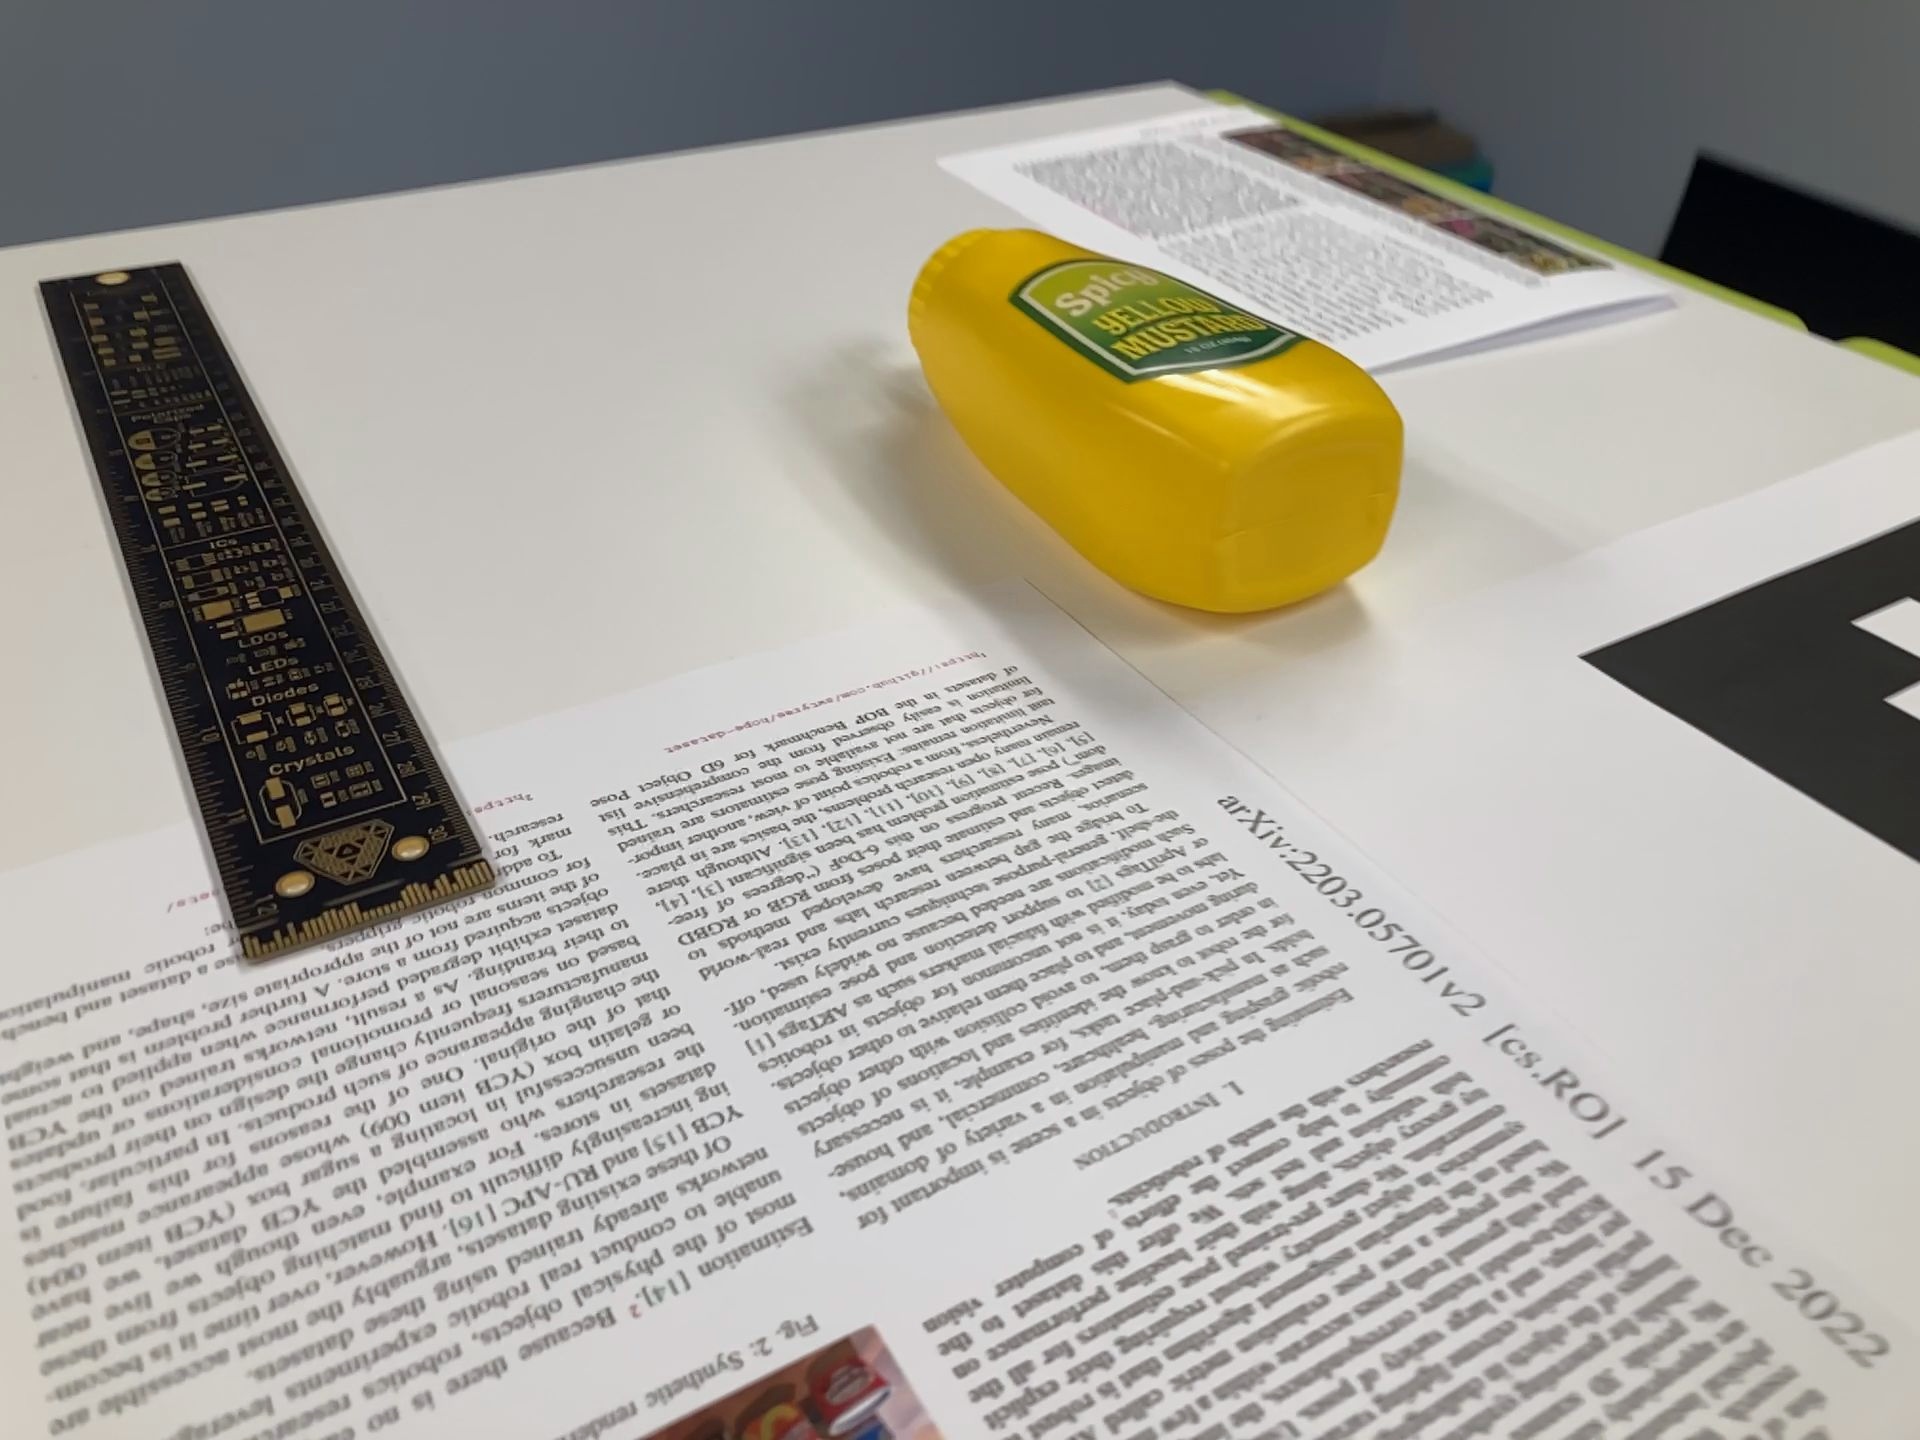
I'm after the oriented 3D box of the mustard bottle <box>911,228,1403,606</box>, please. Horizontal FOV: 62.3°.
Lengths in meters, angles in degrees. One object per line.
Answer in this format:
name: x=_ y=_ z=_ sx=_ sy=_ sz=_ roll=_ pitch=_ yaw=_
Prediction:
mustard bottle: x=0.028 y=-0.081 z=0.368 sx=0.065 sy=0.049 sz=0.160 roll=-18 pitch=40 yaw=-27
